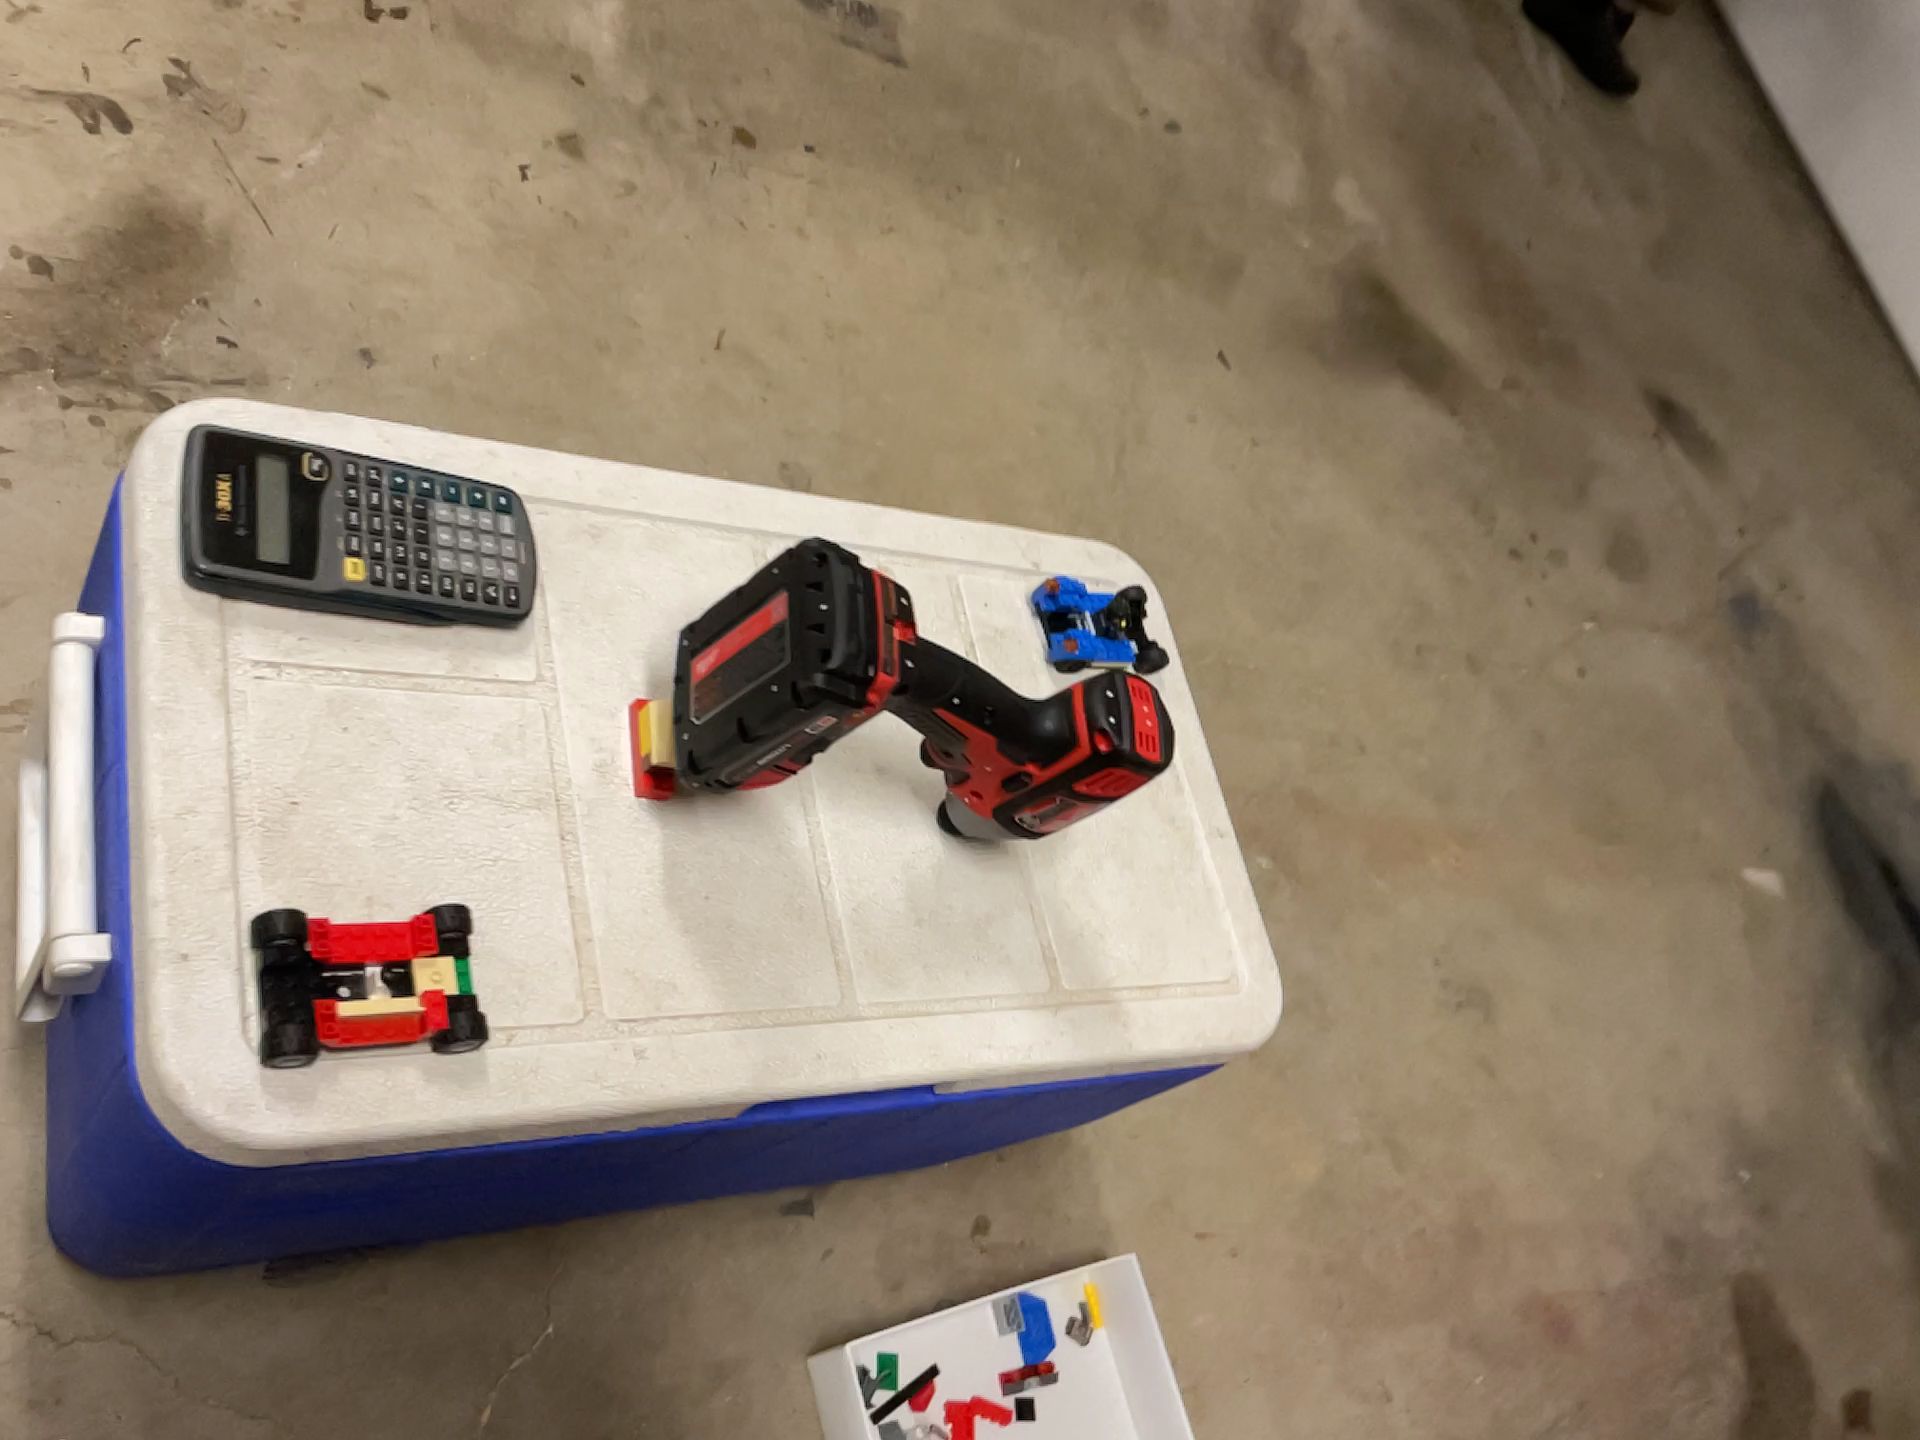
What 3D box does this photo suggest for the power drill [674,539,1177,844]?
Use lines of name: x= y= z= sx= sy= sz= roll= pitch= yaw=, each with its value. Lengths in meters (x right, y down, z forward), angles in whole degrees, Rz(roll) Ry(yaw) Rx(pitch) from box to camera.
power drill: x=-0.018 y=0.005 z=0.754 sx=0.219 sy=0.143 sz=0.079 roll=20 pitch=54 yaw=-38
